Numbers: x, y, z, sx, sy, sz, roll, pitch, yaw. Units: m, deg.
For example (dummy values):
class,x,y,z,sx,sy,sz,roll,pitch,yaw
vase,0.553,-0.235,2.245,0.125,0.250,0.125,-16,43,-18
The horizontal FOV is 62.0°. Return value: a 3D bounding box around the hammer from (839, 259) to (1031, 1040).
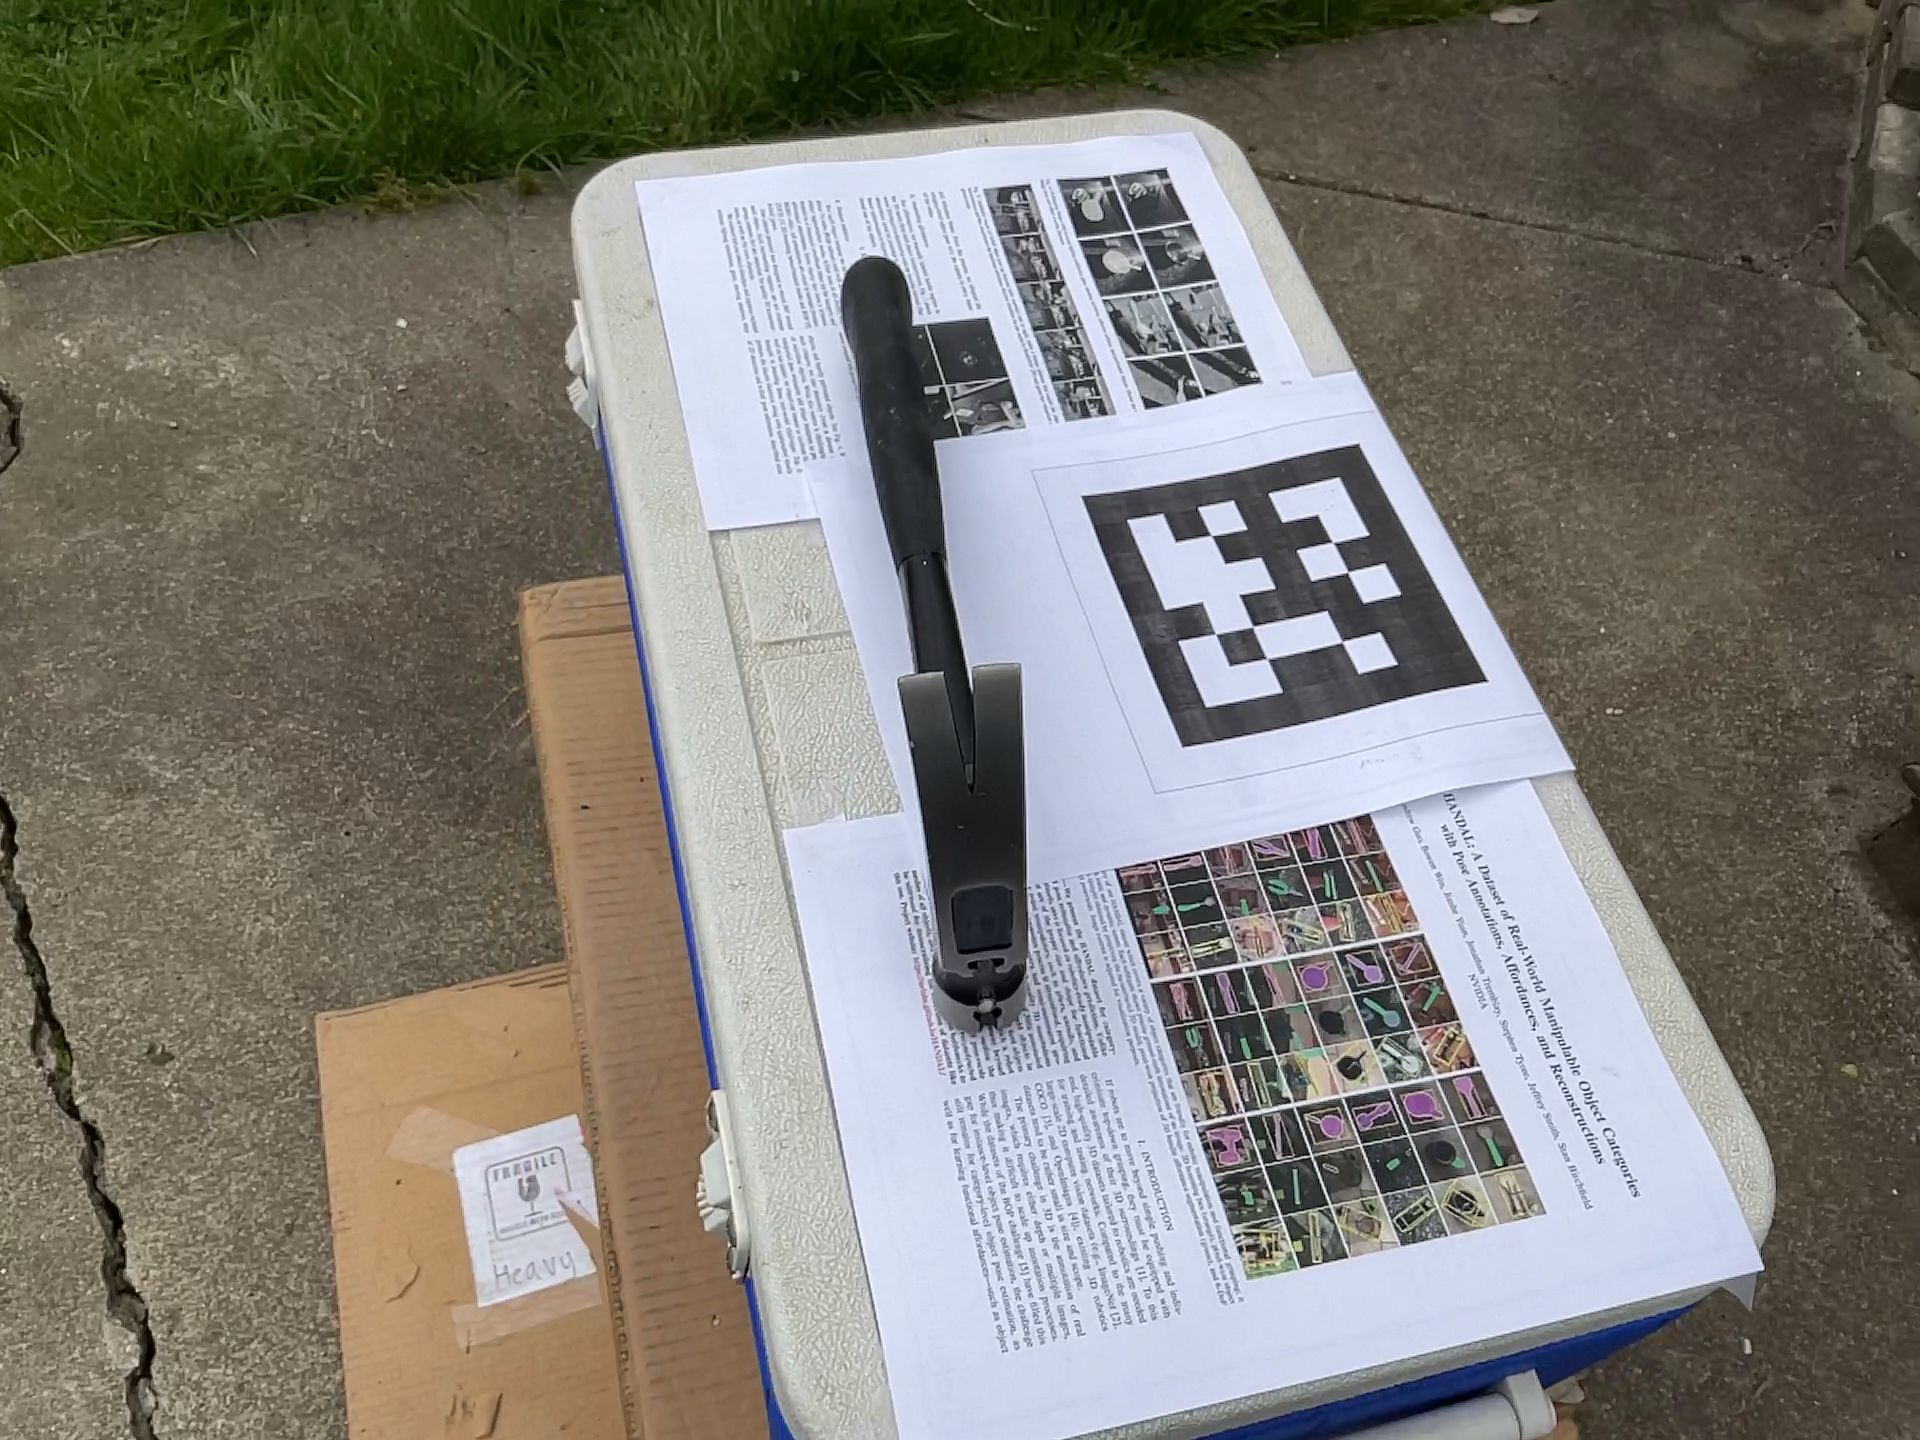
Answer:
class,x,y,z,sx,sy,sz,roll,pitch,yaw
hammer,-0.015,-0.065,0.581,0.035,0.146,0.335,-7,49,-4
